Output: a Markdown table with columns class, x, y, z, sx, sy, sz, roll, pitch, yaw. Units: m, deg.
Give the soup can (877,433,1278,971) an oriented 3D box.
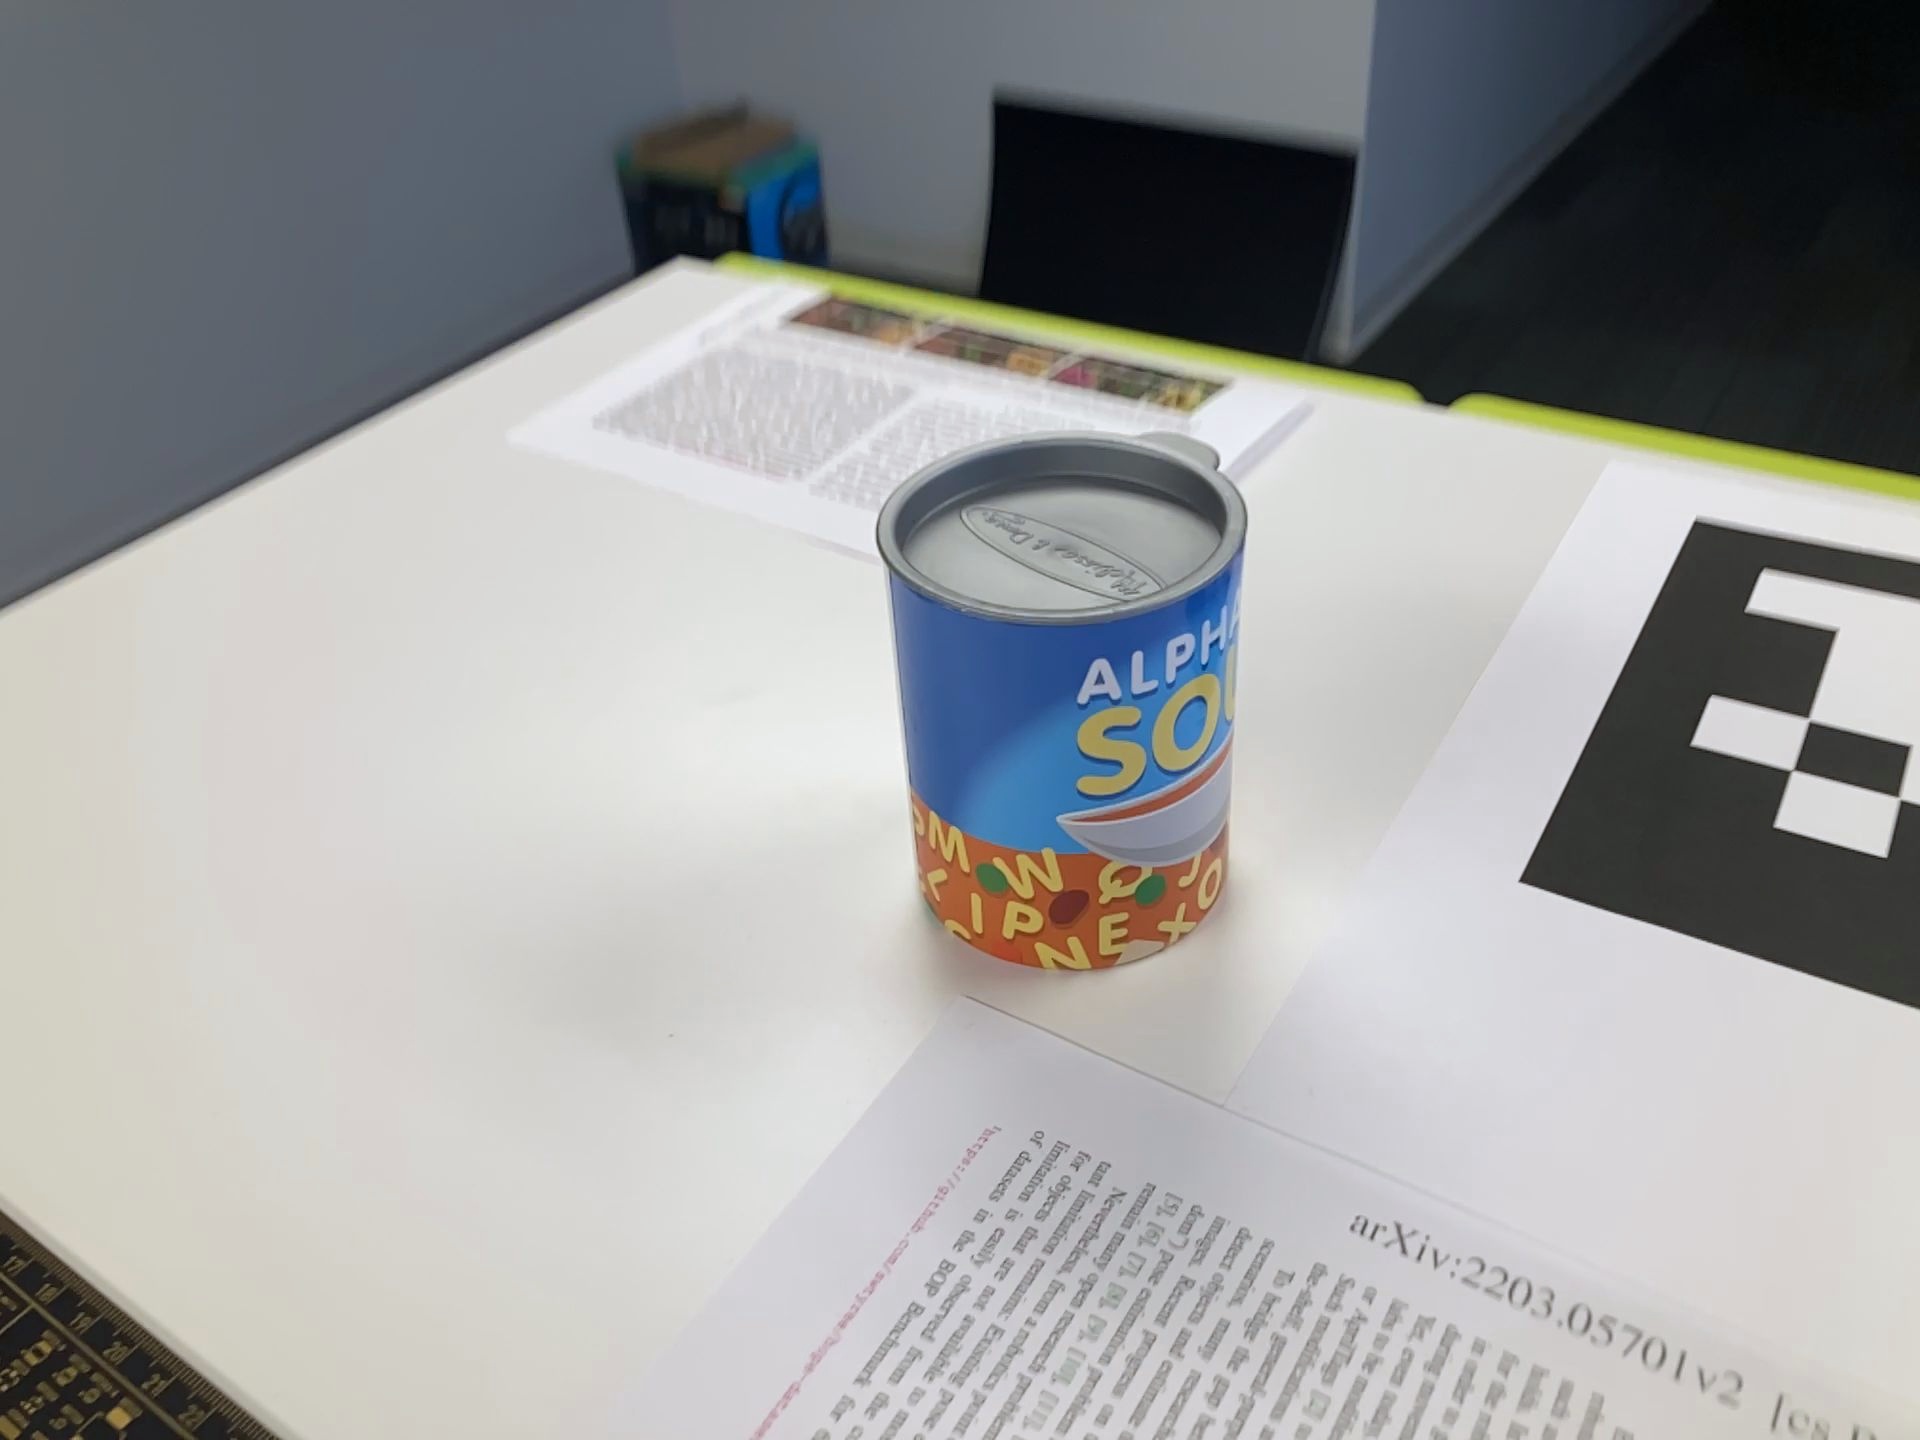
| class | x | y | z | sx | sy | sz | roll | pitch | yaw |
| --- | --- | --- | --- | --- | --- | --- | --- | --- | --- |
| soup can | 0.023 | -0.003 | 0.307 | 0.071 | 0.084 | 0.071 | -3 | 37 | 2 |
